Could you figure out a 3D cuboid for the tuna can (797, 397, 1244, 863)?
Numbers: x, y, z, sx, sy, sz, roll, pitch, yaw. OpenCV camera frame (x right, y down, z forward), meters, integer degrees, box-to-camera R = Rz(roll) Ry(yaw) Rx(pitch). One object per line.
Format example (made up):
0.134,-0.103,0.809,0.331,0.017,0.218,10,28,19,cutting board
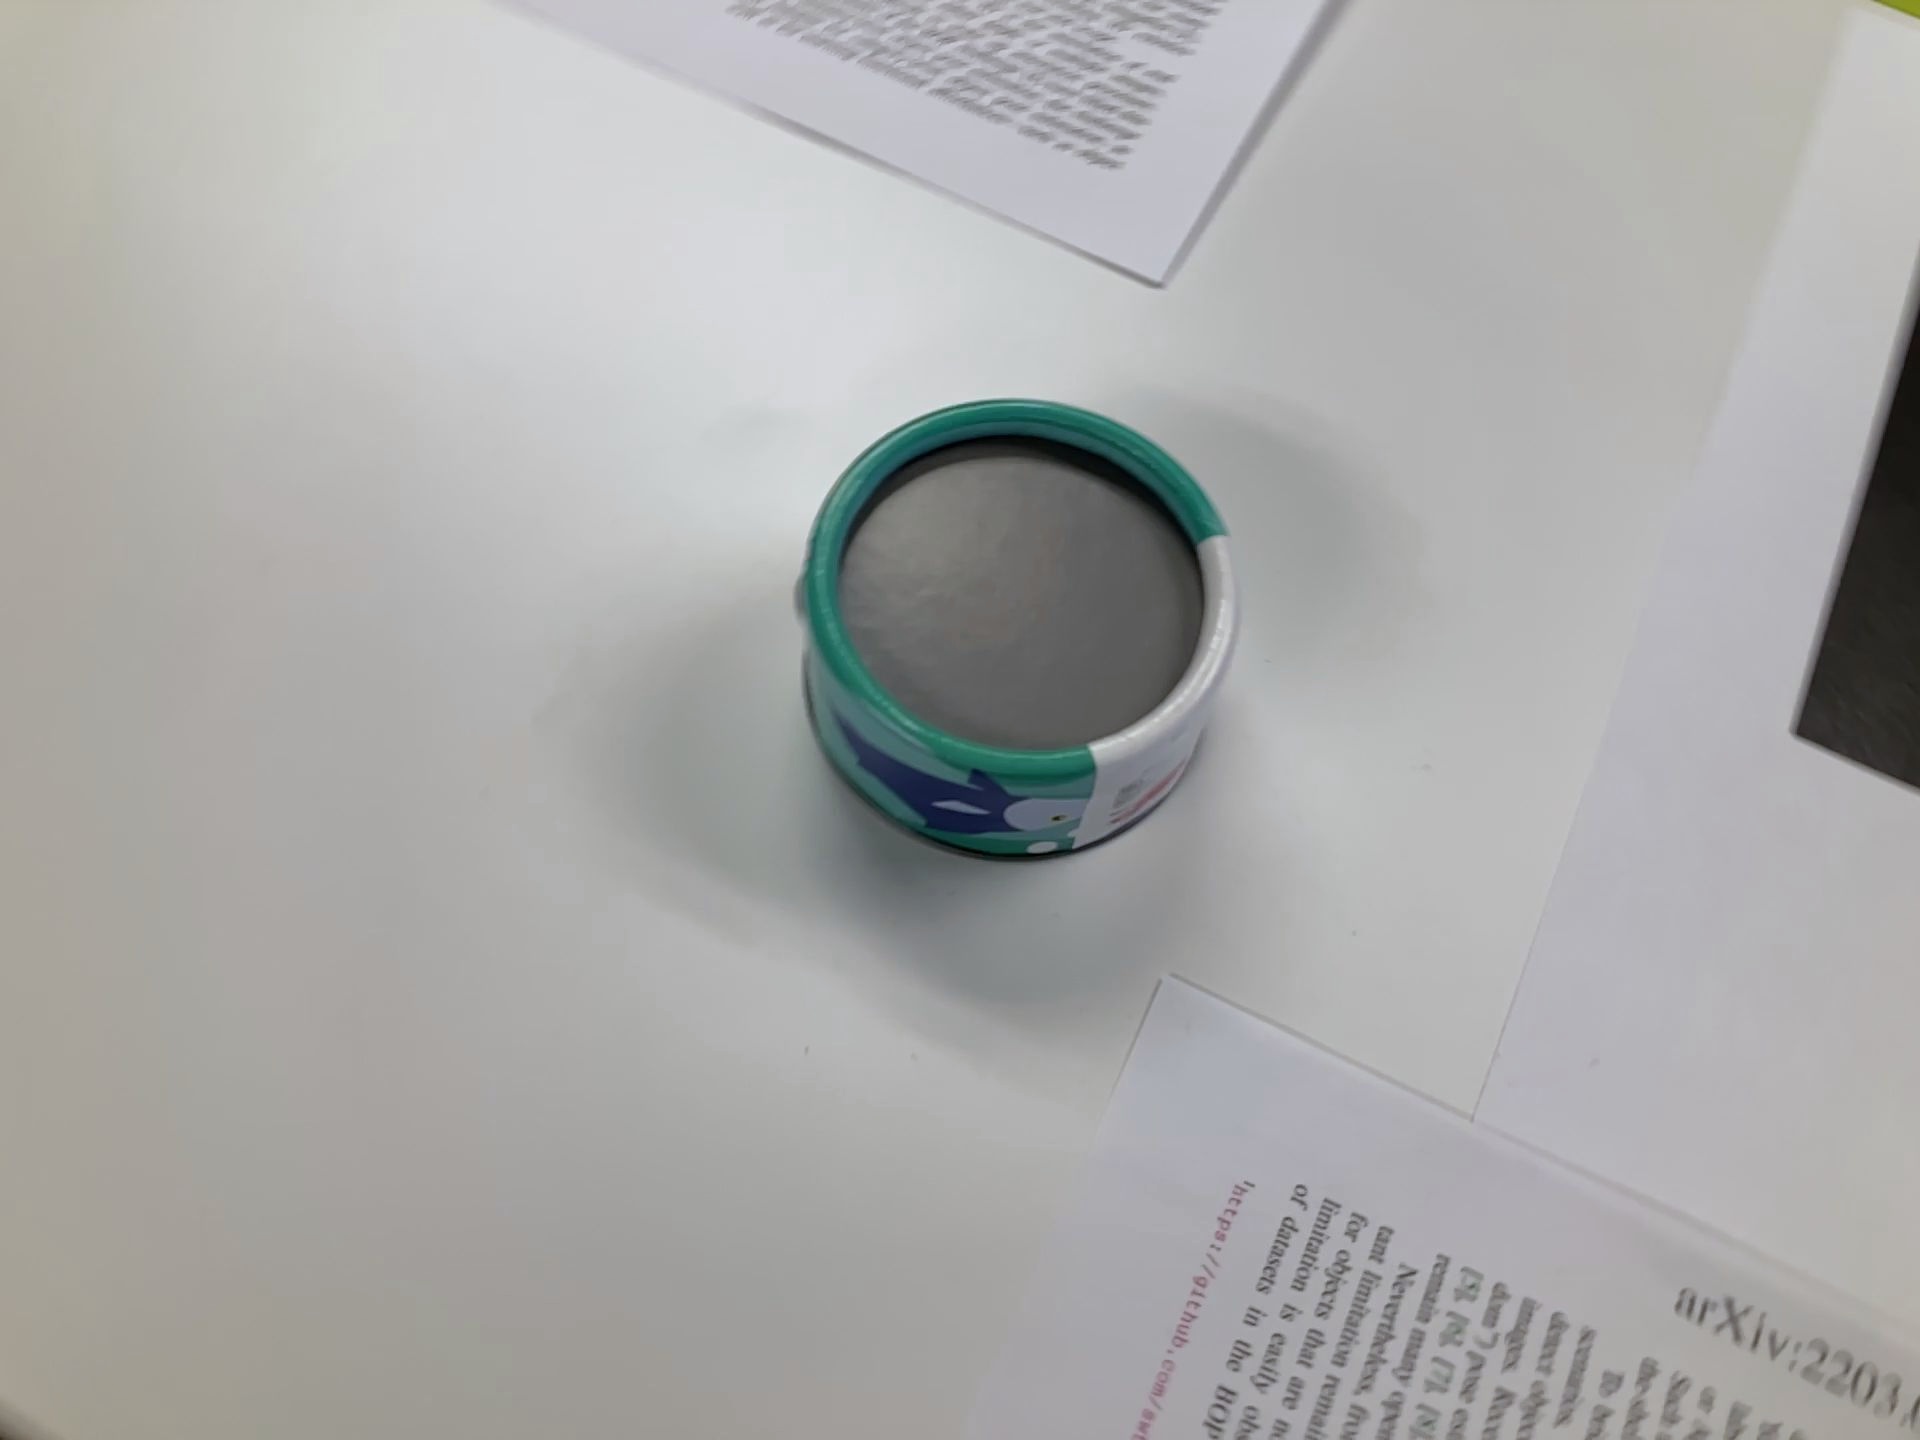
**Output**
0.007,-0.016,0.244,0.071,0.033,0.071,2,62,-3,tuna can
